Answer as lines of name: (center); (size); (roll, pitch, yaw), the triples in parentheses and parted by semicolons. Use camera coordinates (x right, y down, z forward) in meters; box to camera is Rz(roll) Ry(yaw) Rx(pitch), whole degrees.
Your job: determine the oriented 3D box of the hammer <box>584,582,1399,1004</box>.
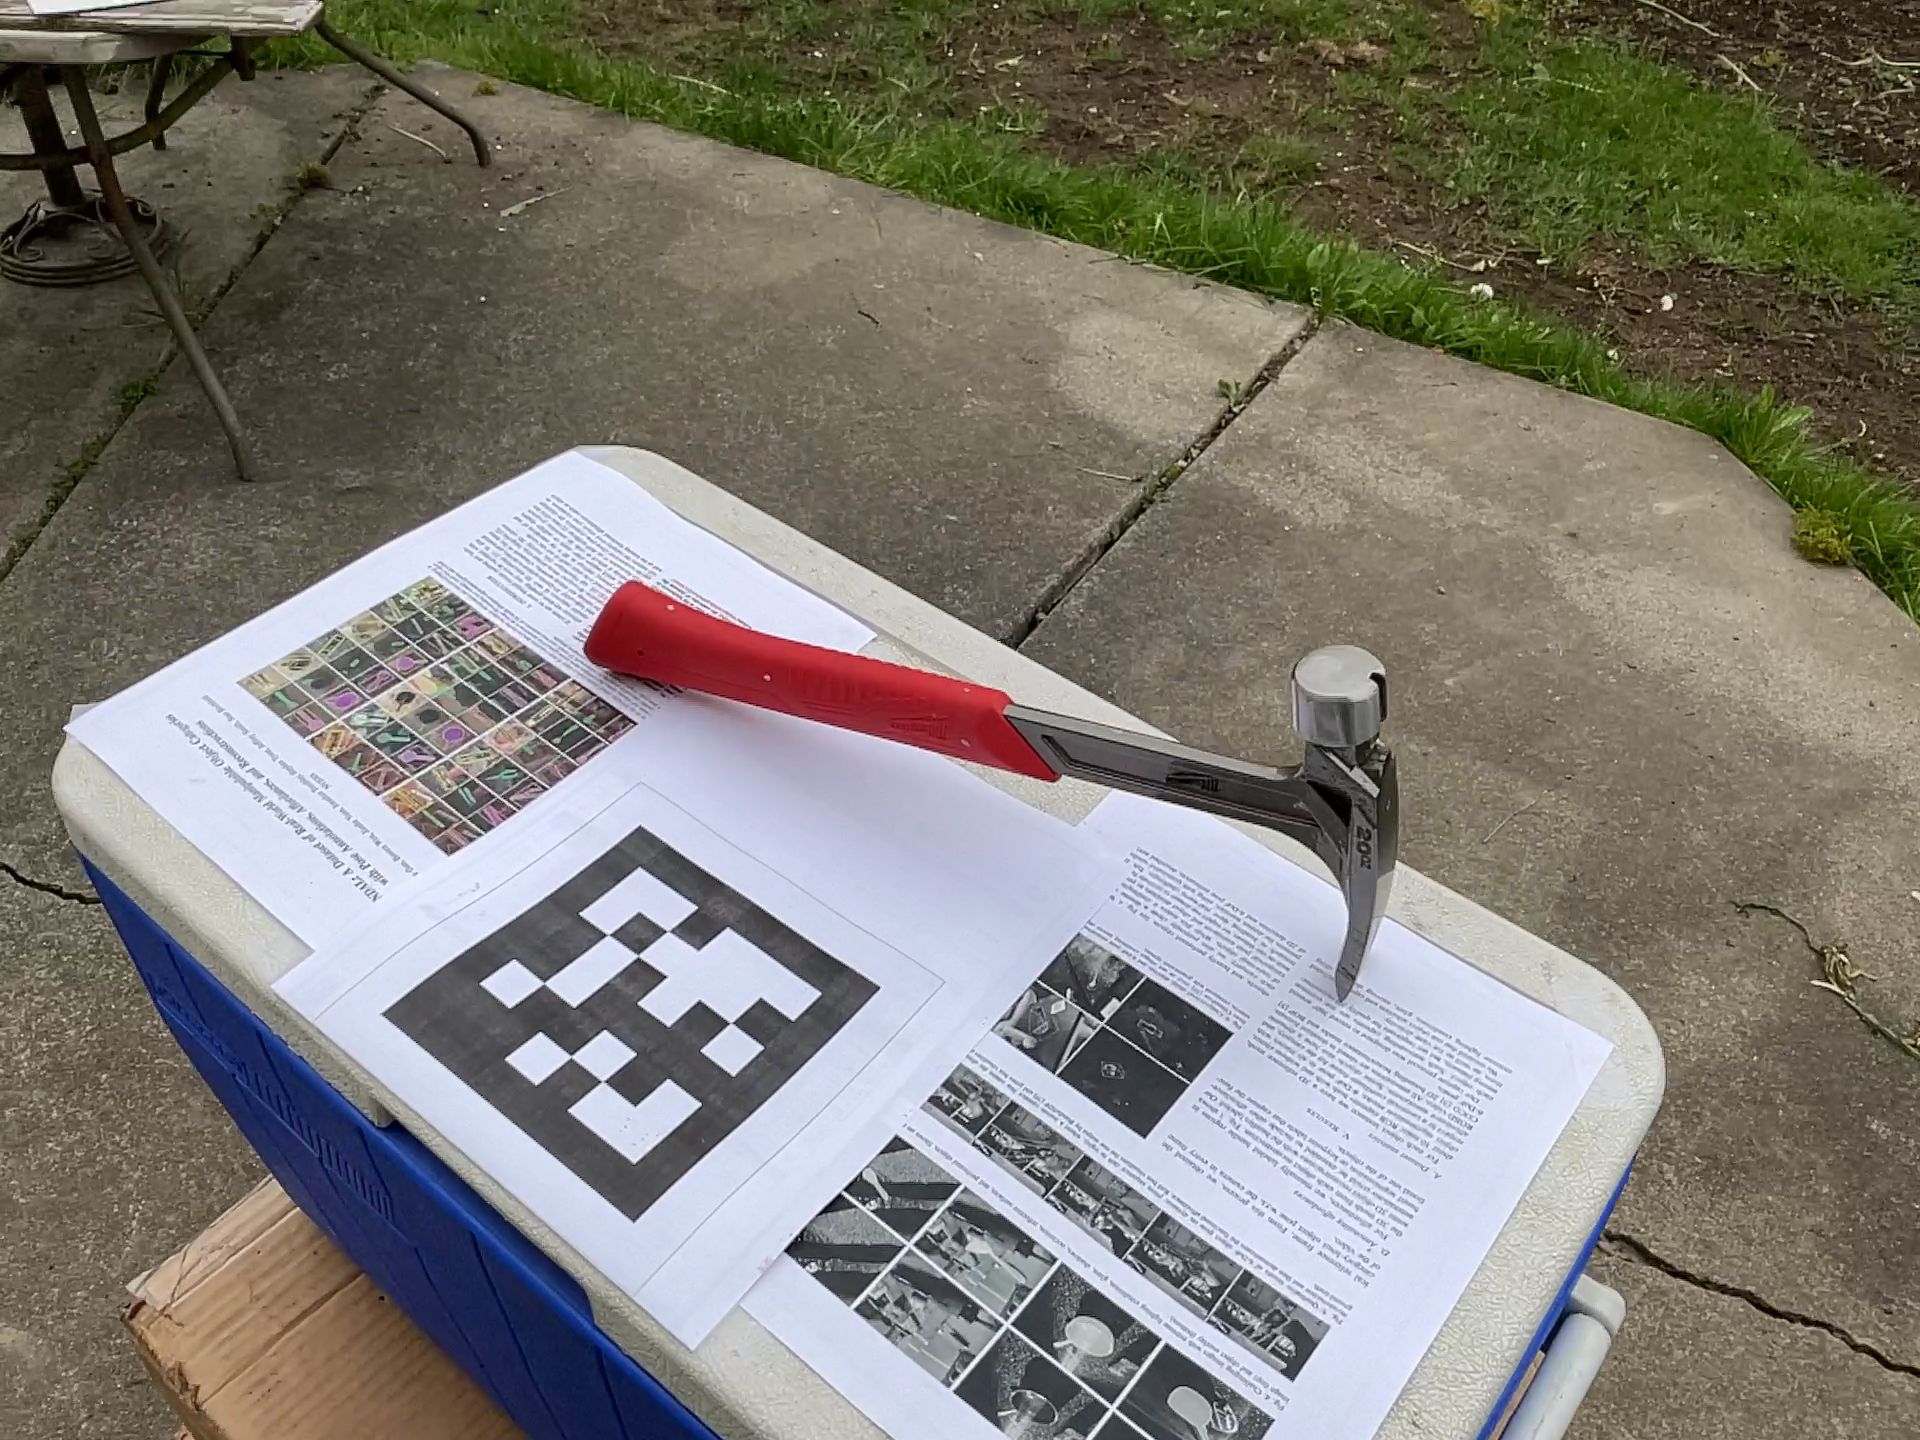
hammer: (-0.003, 0.007, 0.649); (0.359, 0.149, 0.037); (14, 44, 27)
